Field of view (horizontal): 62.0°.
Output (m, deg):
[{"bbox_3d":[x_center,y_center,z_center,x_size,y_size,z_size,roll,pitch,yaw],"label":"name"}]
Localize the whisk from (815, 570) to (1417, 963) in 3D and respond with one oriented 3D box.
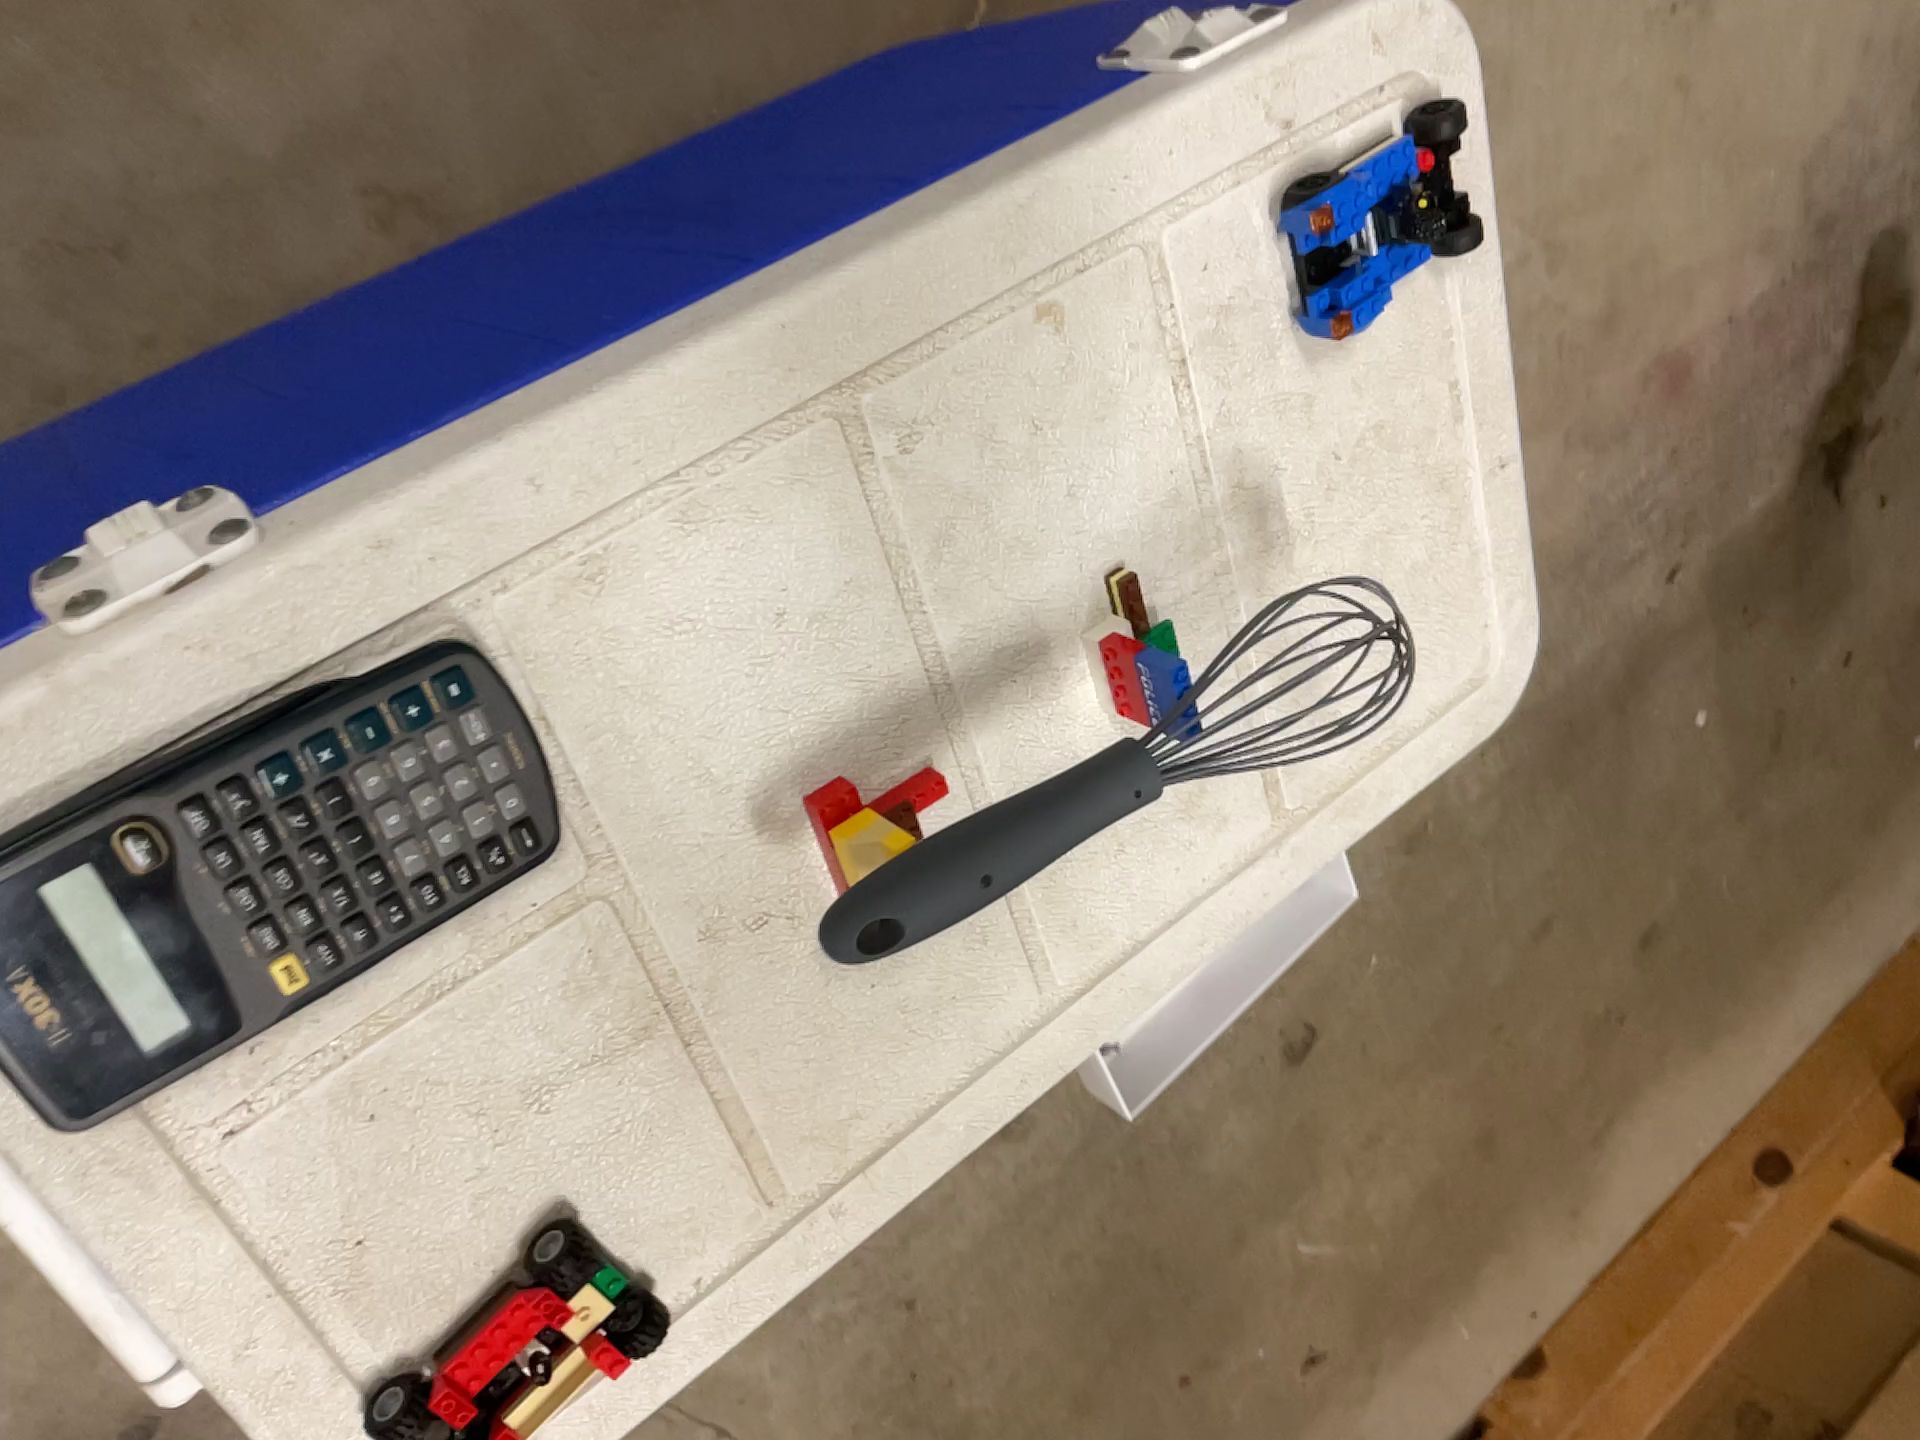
[{"bbox_3d":[0.056,0.014,0.522,0.239,0.055,0.055,-28,120,-21],"label":"whisk"}]
